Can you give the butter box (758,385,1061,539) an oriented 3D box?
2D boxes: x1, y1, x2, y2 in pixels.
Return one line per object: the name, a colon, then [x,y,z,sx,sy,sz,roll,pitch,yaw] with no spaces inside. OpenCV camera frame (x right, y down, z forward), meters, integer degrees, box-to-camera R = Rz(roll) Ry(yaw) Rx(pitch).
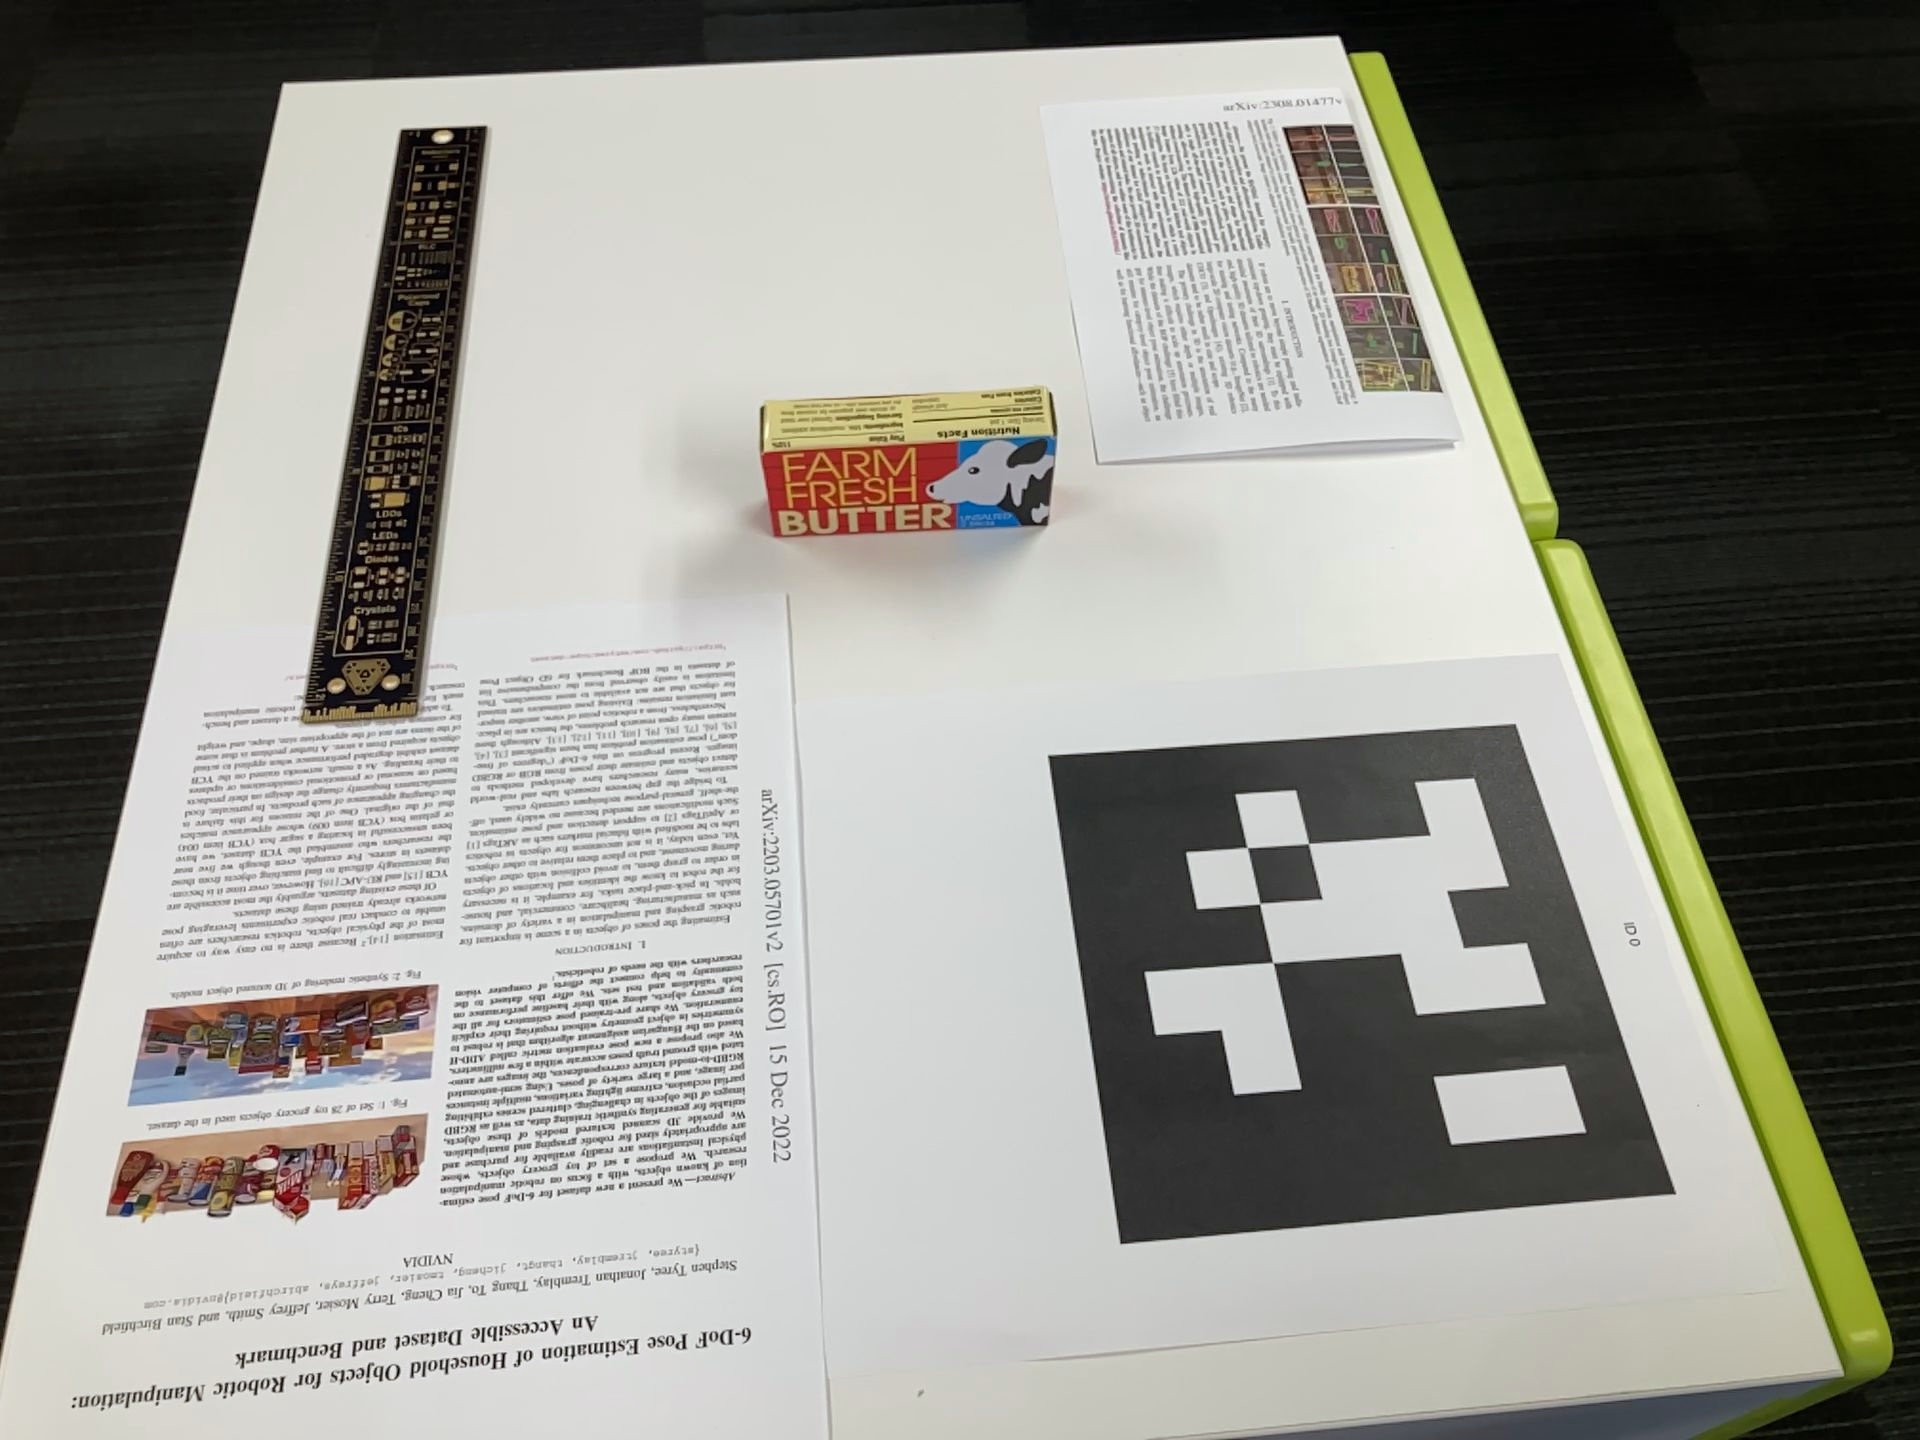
butter box: [-0.019,-0.091,0.563,0.103,0.053,0.024,-4,60,-3]
